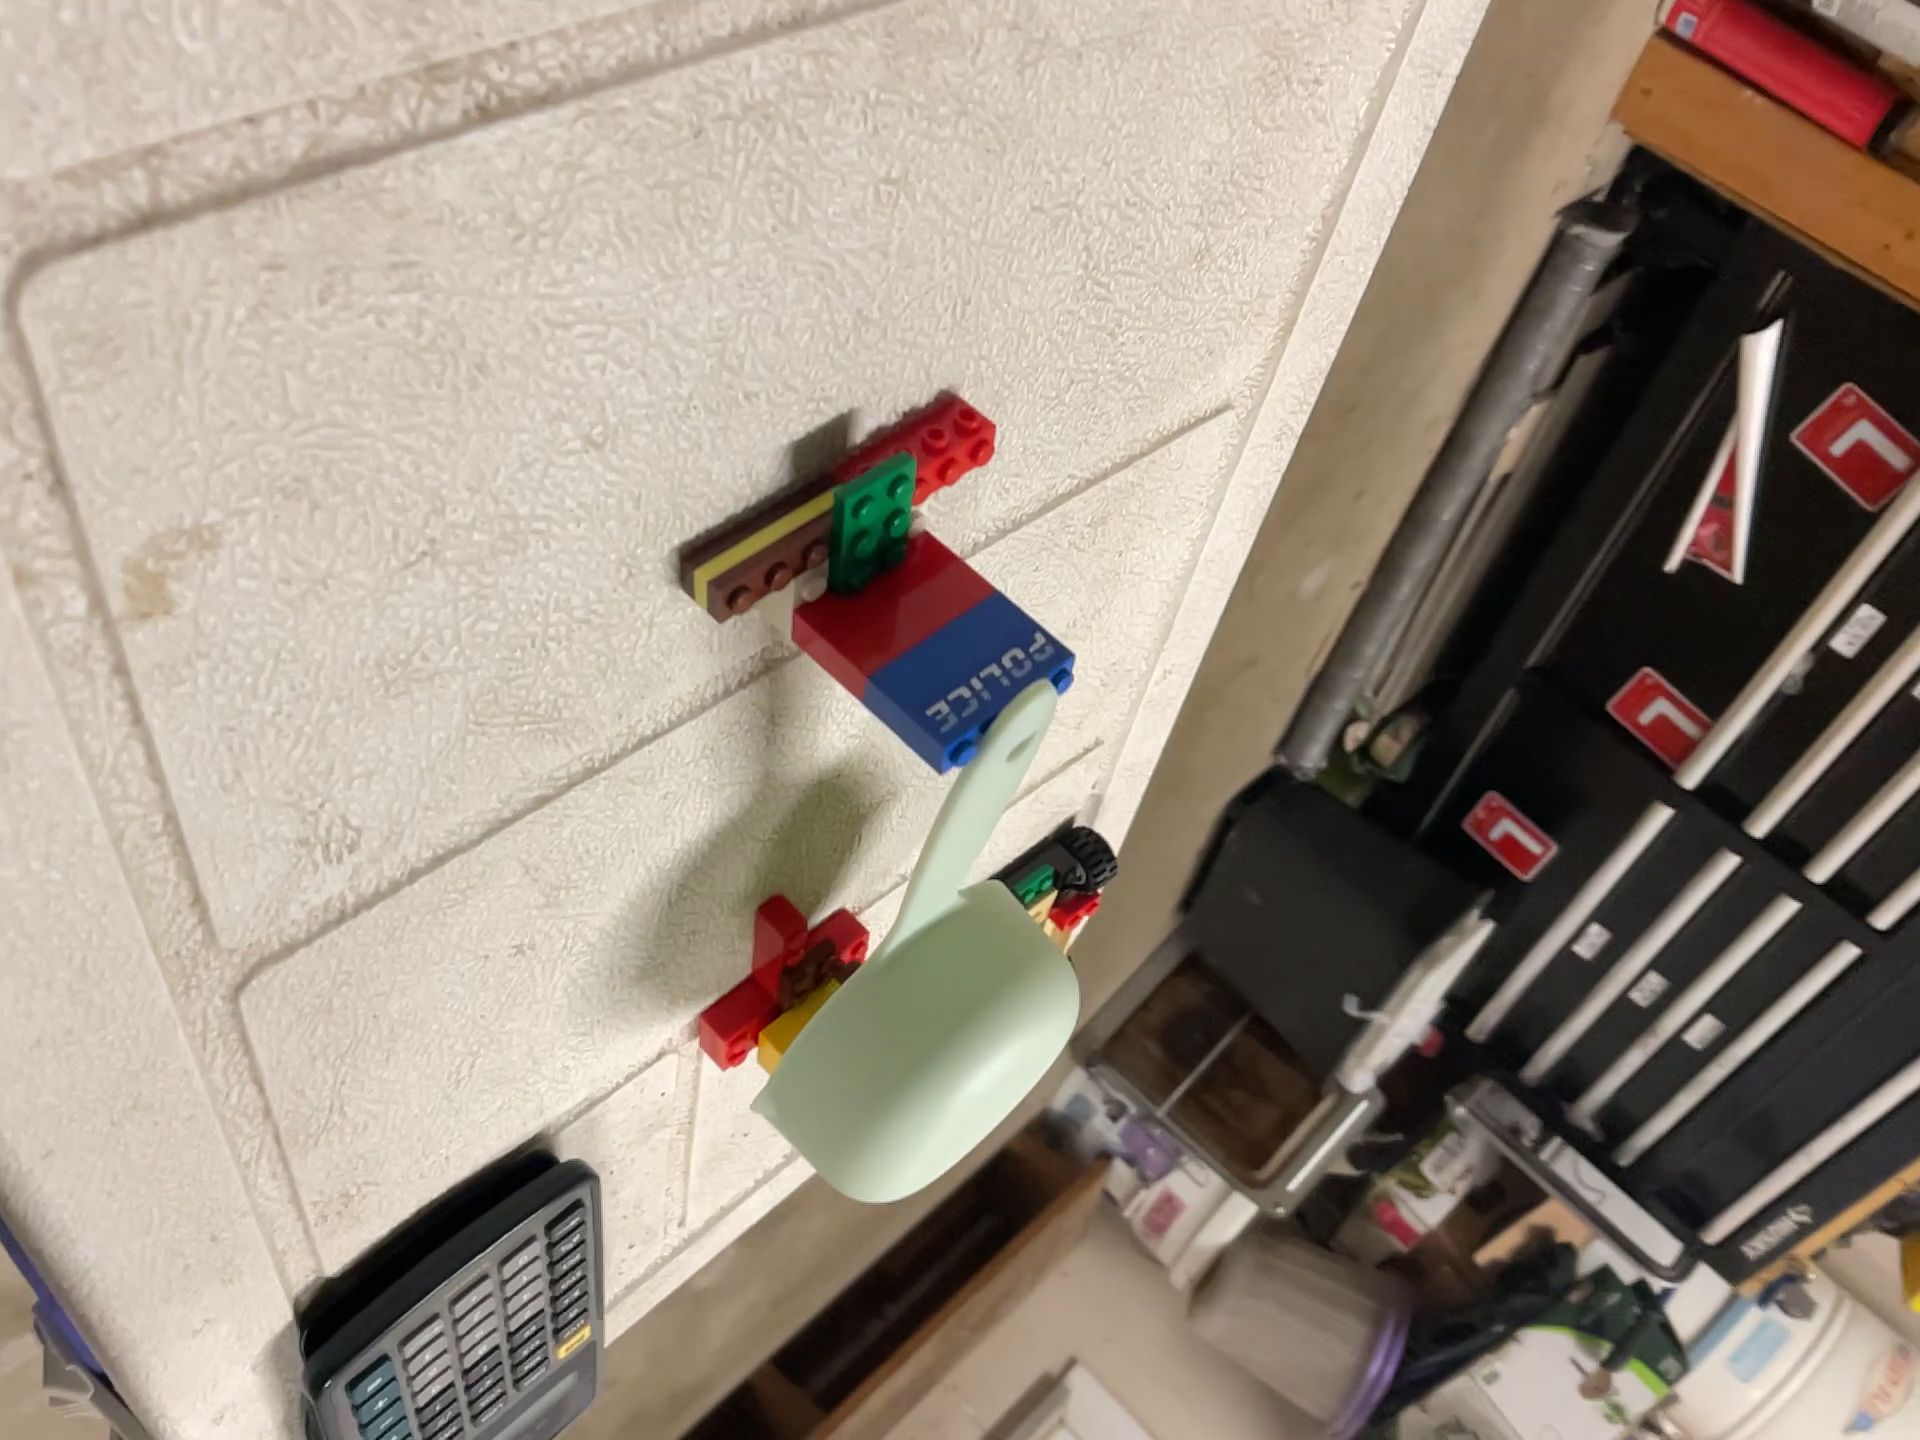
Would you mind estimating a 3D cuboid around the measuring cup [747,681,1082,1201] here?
[{"bbox_3d":[0.004,0.051,0.332,0.083,0.038,0.167,-34,161,-31],"label":"measuring cup"}]
